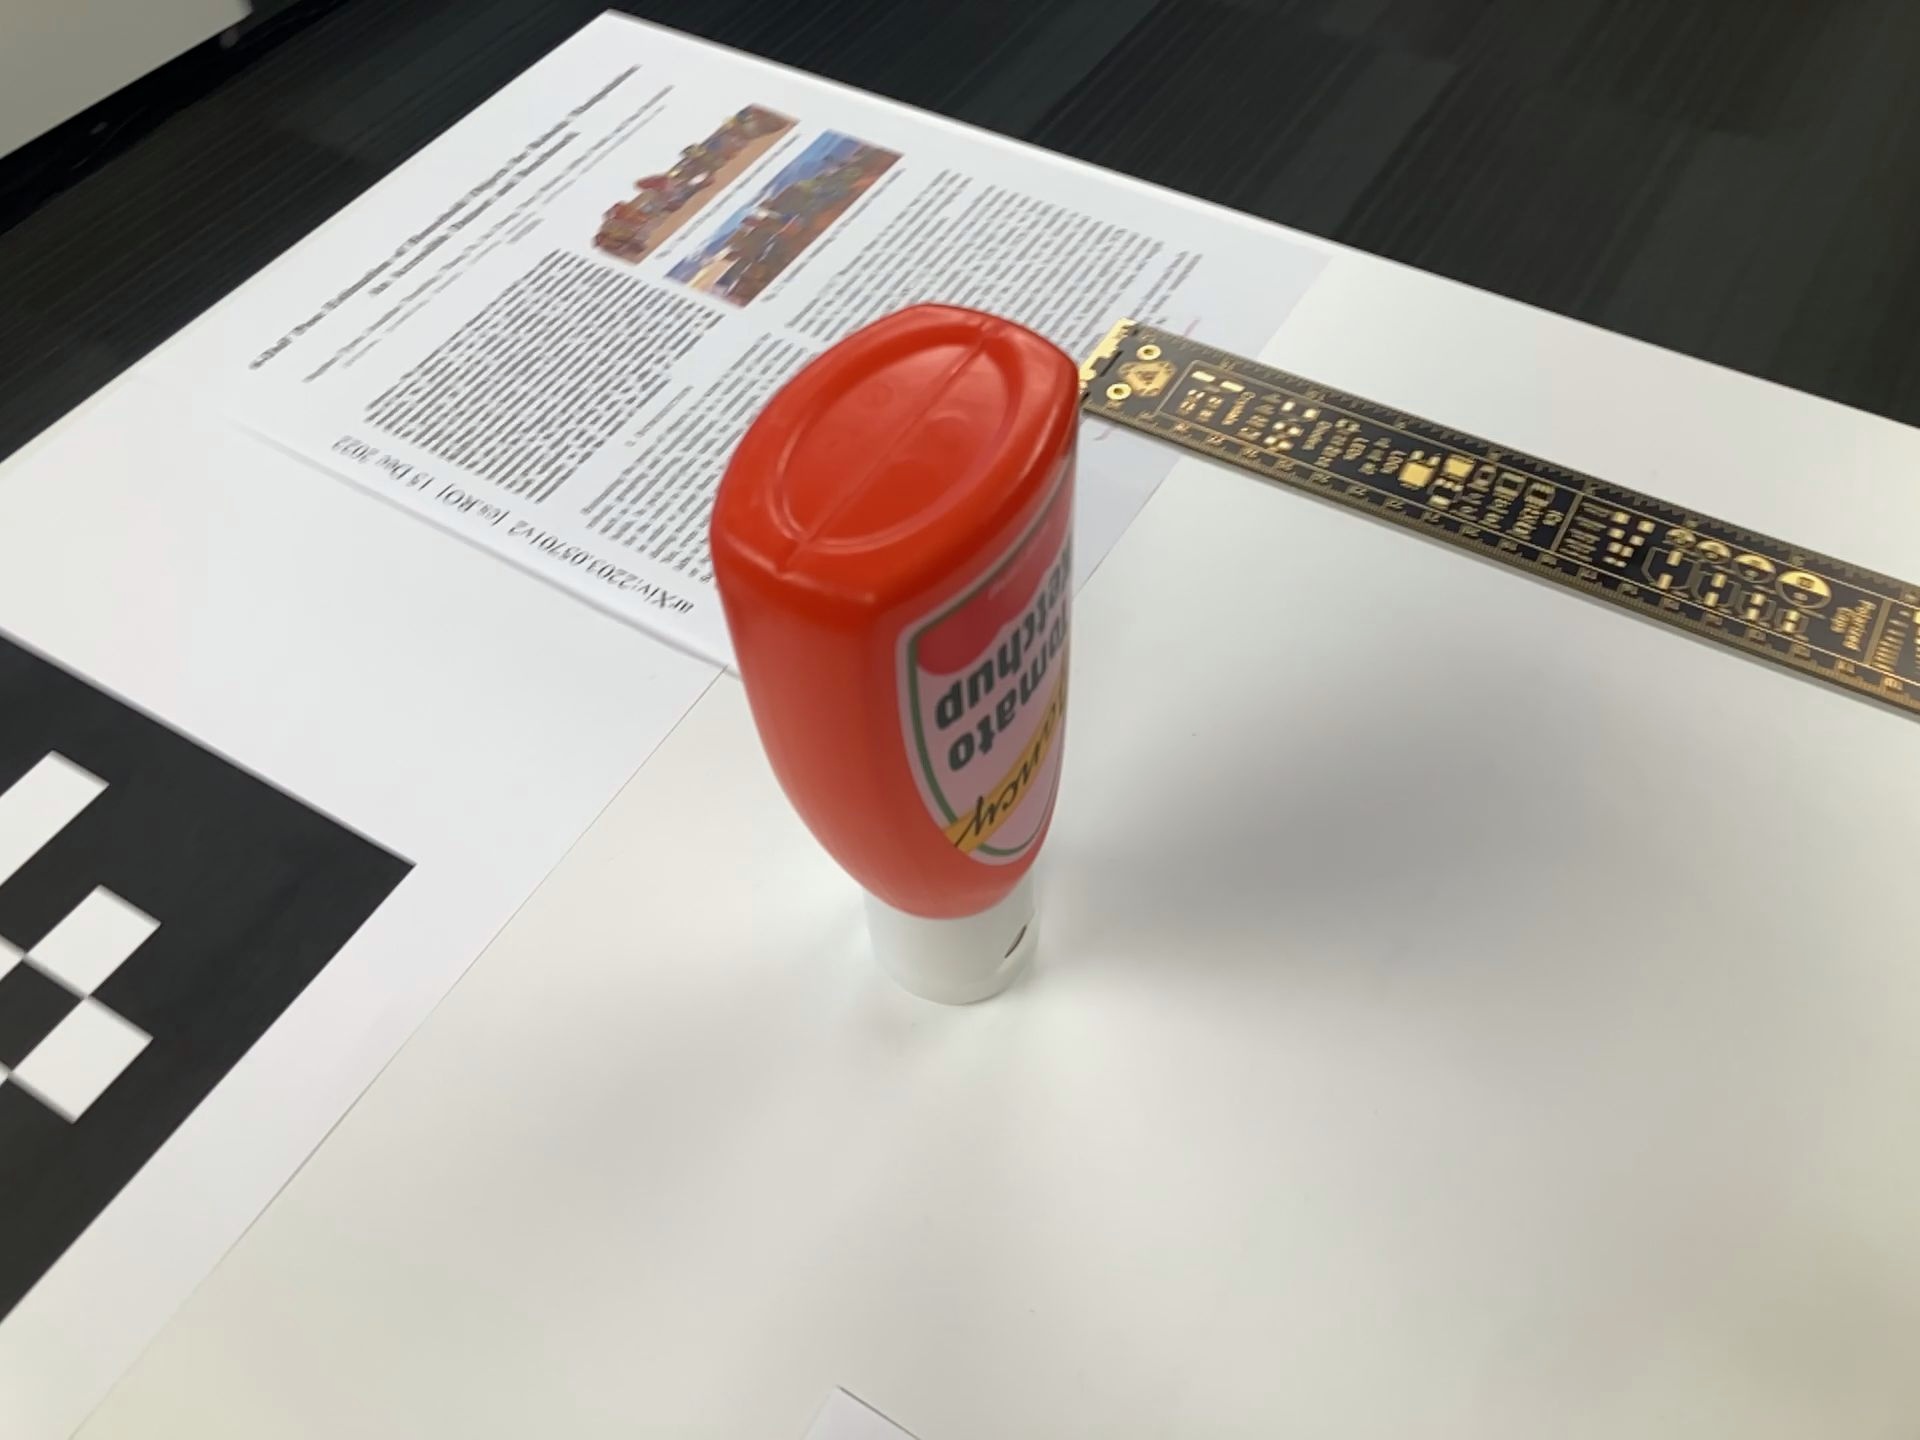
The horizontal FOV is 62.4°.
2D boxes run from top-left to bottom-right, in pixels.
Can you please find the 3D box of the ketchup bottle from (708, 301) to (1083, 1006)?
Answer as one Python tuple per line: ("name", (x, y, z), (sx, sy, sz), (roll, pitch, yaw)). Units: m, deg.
("ketchup bottle", (-0.005, 0.002, 0.282), (0.043, 0.149, 0.065), (26, 60, 20))
